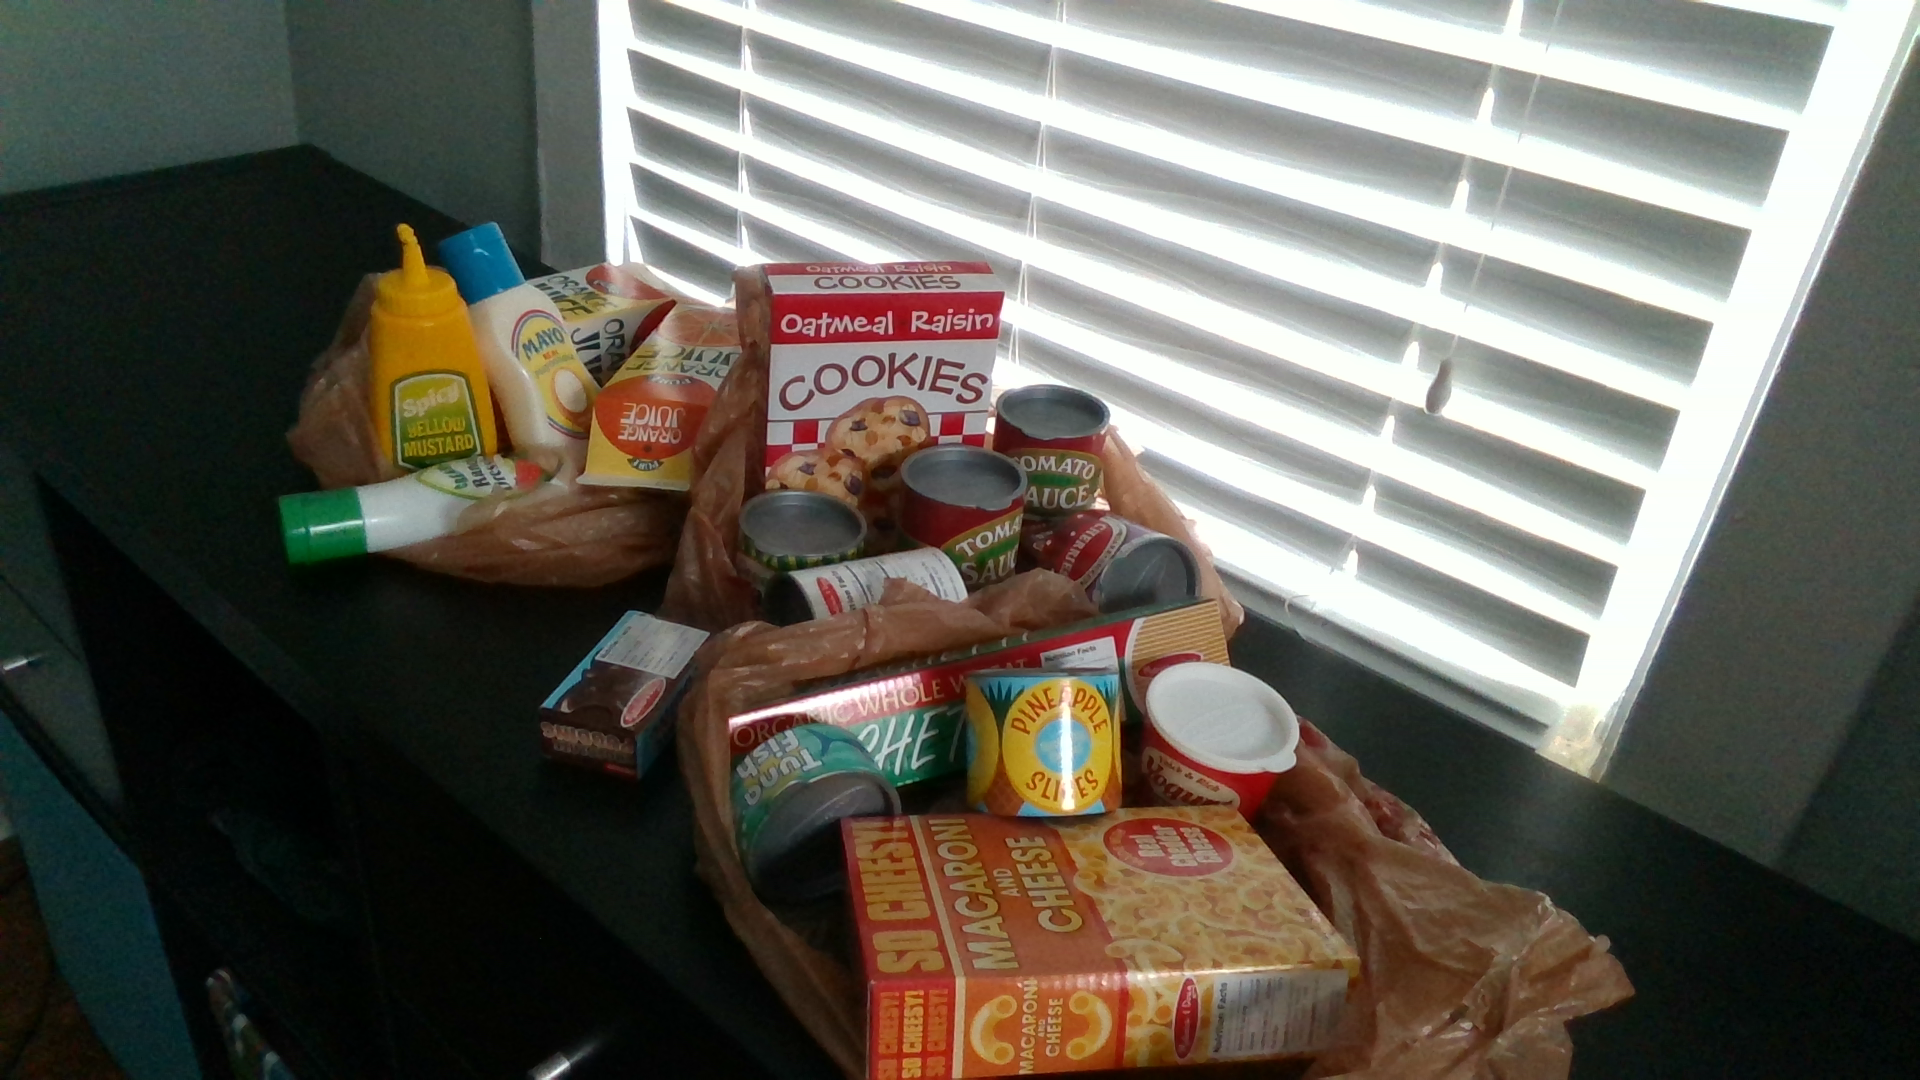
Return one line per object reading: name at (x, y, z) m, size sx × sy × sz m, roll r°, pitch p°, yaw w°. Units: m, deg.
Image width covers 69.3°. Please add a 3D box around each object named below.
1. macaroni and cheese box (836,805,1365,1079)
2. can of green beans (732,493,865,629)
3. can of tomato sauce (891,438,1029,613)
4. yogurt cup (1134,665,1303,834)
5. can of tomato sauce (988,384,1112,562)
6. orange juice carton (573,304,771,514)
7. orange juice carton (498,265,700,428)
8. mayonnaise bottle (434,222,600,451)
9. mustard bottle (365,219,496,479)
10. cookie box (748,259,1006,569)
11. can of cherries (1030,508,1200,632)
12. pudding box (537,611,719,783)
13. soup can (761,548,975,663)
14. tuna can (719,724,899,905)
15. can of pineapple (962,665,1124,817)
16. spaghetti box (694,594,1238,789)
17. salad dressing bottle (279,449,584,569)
macaroni and cheese box at (0.042, 0.142, 0.509) m, size 0.167 × 0.040 × 0.124 m, roll 0°, pitch 13°, yaw -10°
can of green beans at (-0.086, 0.015, 0.716) m, size 0.071 × 0.057 × 0.071 m, roll 8°, pitch 26°, yaw -4°
can of tomato sauce at (-0.001, 0.000, 0.715) m, size 0.071 × 0.082 × 0.071 m, roll 5°, pitch 33°, yaw -3°
yogurt cup at (0.109, 0.095, 0.607) m, size 0.072 × 0.053 × 0.073 m, roll 10°, pitch 31°, yaw -6°
can of tomato sauce at (0.047, -0.037, 0.789) m, size 0.071 × 0.082 × 0.071 m, roll 6°, pitch 30°, yaw -3°
orange juice carton at (-0.161, -0.072, 0.819) m, size 0.072 × 0.072 × 0.193 m, roll 6°, pitch 29°, yaw 4°
orange juice carton at (-0.251, -0.124, 0.889) m, size 0.072 × 0.072 × 0.193 m, roll 29°, pitch 35°, yaw 32°
mayonnaise bottle at (-0.249, -0.107, 0.797) m, size 0.041 × 0.147 × 0.065 m, roll -14°, pitch 18°, yaw 36°
mustard bottle at (-0.290, -0.095, 0.750) m, size 0.065 × 0.159 × 0.049 m, roll -12°, pitch 37°, yaw -25°
cookie box at (-0.048, -0.065, 0.741) m, size 0.123 × 0.166 × 0.040 m, roll -4°, pitch 33°, yaw -19°
can of cherries at (0.076, 0.020, 0.703) m, size 0.072 × 0.071 × 0.058 m, roll -15°, pitch 22°, yaw -31°
pudding box at (-0.149, 0.069, 0.633) m, size 0.050 × 0.030 × 0.084 m, roll 12°, pitch 32°, yaw 11°
soup can at (-0.045, 0.044, 0.661) m, size 0.084 × 0.071 × 0.071 m, roll -9°, pitch 34°, yaw -27°
tuna can at (-0.062, 0.106, 0.549) m, size 0.071 × 0.070 × 0.033 m, roll -14°, pitch 35°, yaw -30°
can of pineapple at (0.035, 0.082, 0.573) m, size 0.071 × 0.058 × 0.071 m, roll -1°, pitch -4°, yaw 0°
spaghetti box at (0.009, 0.072, 0.614) m, size 0.251 × 0.050 × 0.028 m, roll -11°, pitch 5°, yaw -20°
salad dressing bottle at (-0.278, -0.015, 0.736) m, size 0.148 × 0.043 × 0.064 m, roll -12°, pitch 32°, yaw -26°
